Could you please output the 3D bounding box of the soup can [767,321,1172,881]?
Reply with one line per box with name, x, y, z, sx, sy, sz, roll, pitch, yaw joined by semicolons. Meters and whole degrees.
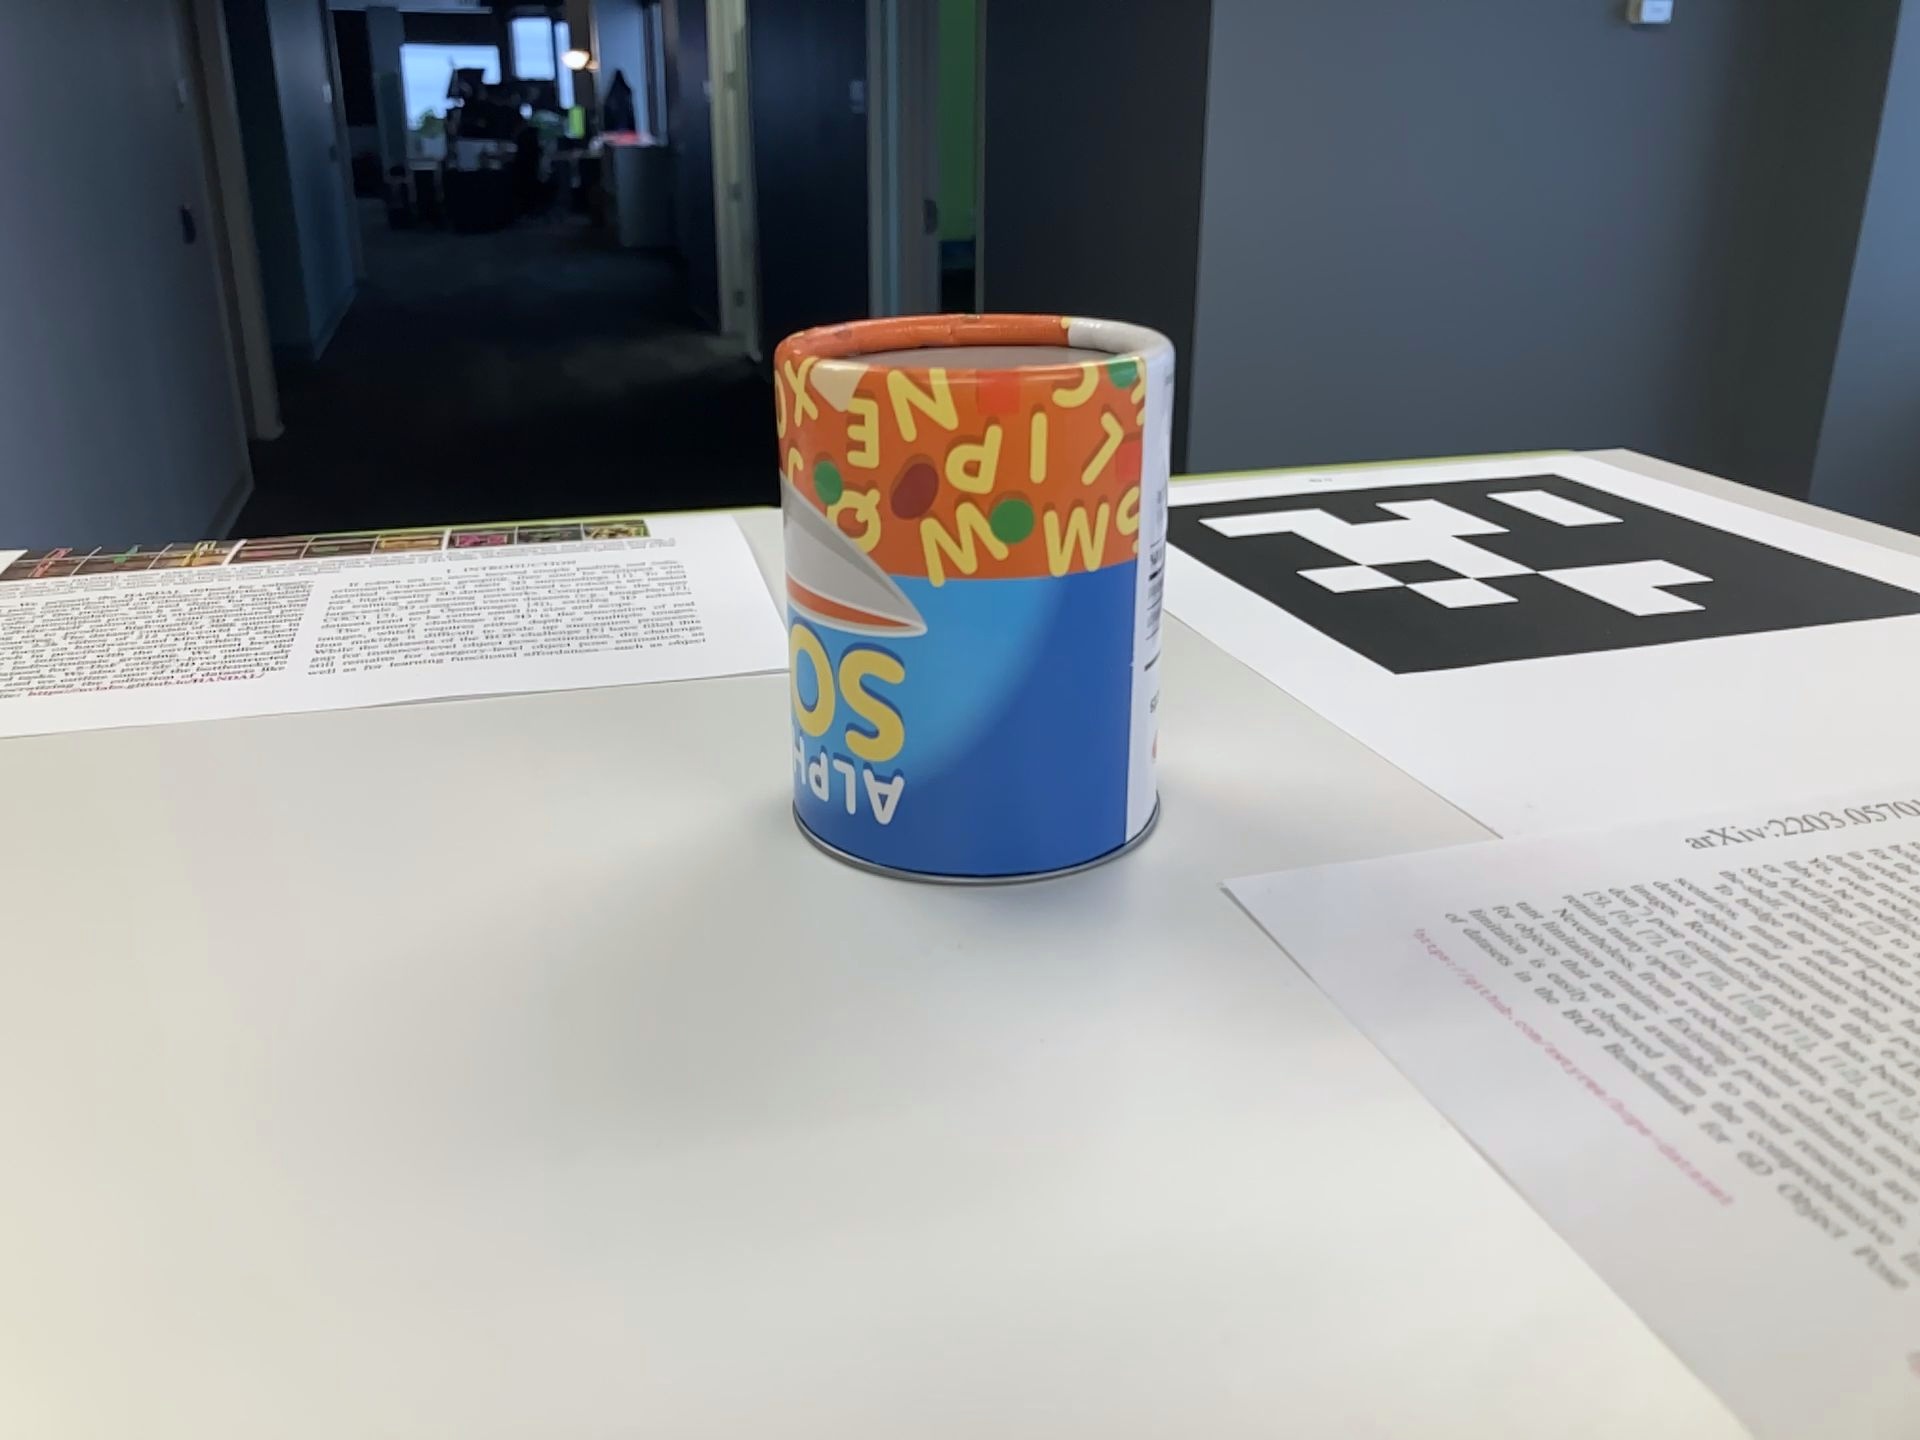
soup can;0.000;-0.023;0.277;0.071;0.084;0.071;-1;20;0
